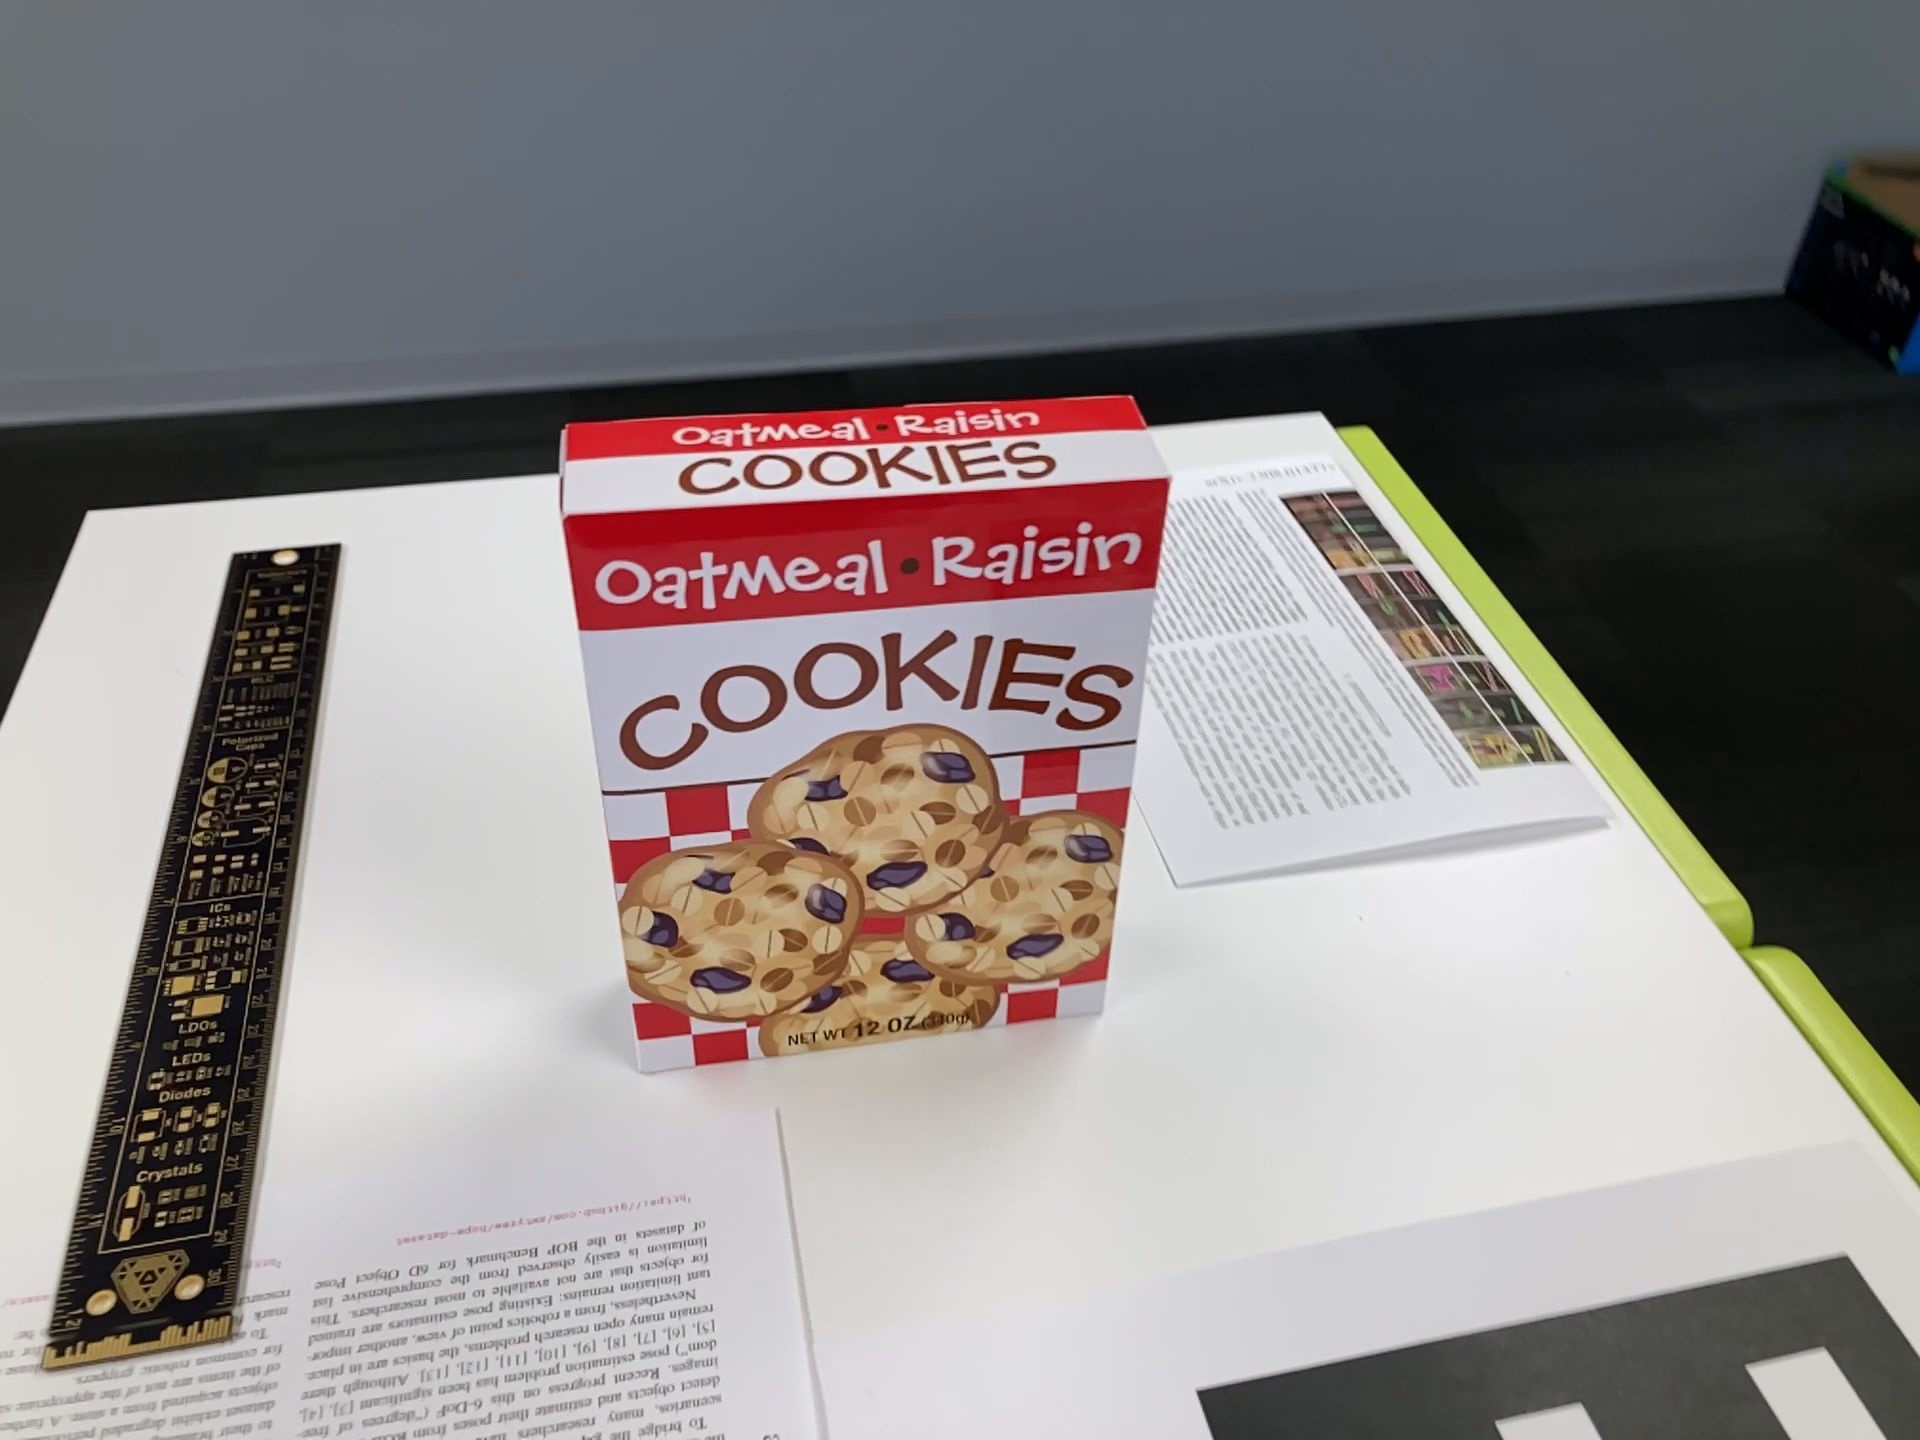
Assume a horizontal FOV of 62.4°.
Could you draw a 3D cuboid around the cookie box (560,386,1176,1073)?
[{"bbox_3d":[-0.021,0.007,0.374,0.123,0.167,0.040,-5,40,-9],"label":"cookie box"}]
